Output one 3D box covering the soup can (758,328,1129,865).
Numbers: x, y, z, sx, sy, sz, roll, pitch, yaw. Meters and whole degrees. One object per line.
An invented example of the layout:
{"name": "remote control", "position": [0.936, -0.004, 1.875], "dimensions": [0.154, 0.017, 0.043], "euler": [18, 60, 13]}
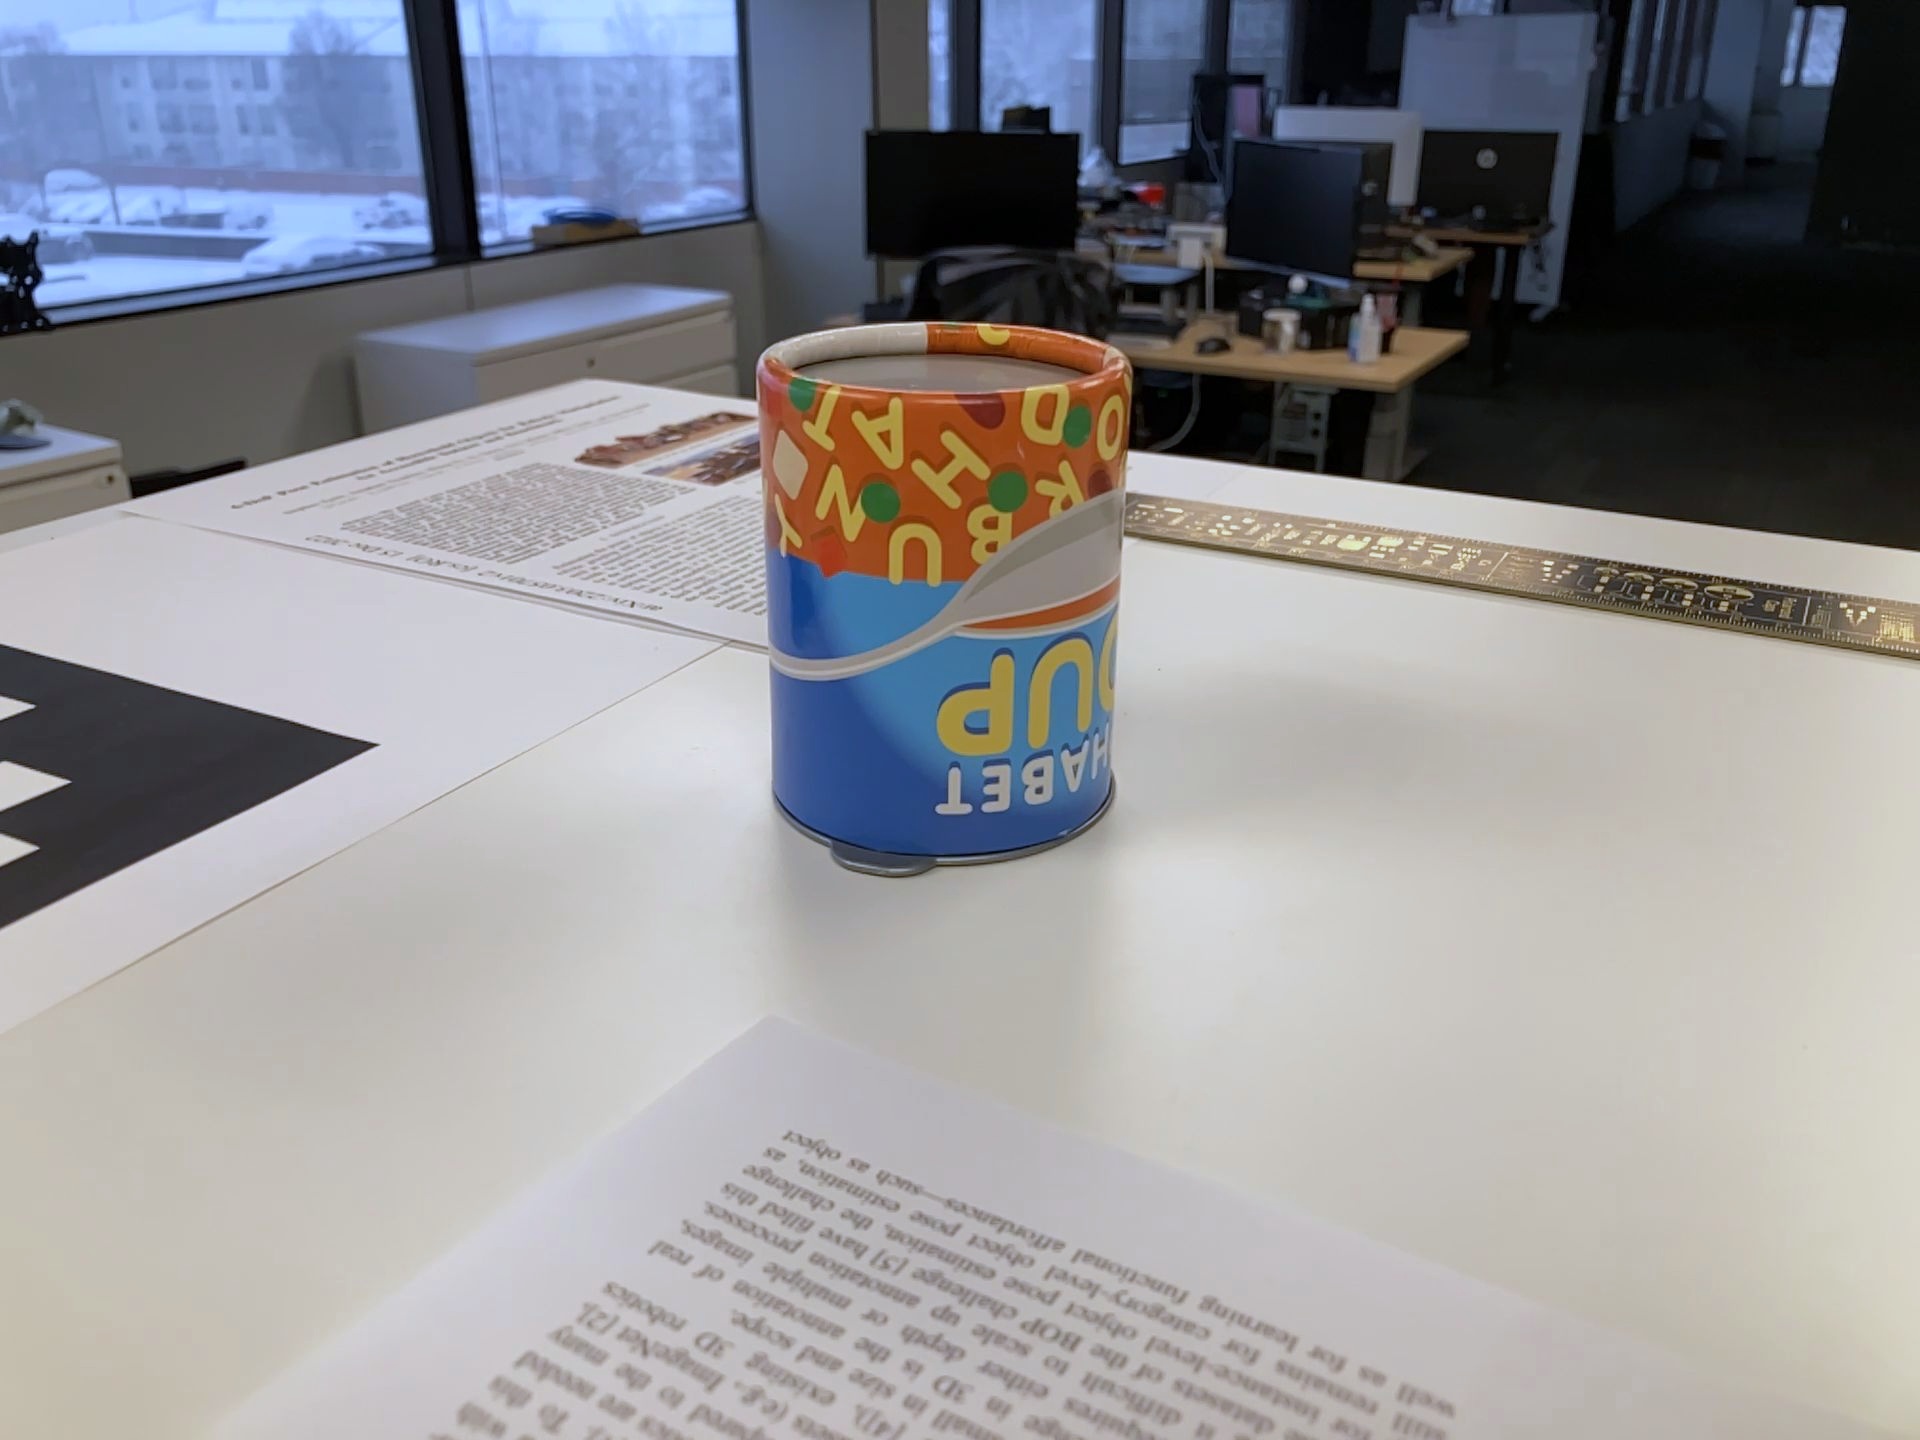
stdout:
{"name": "soup can", "position": [-0.001, -0.025, 0.291], "dimensions": [0.071, 0.084, 0.071], "euler": [0, 23, 0]}
